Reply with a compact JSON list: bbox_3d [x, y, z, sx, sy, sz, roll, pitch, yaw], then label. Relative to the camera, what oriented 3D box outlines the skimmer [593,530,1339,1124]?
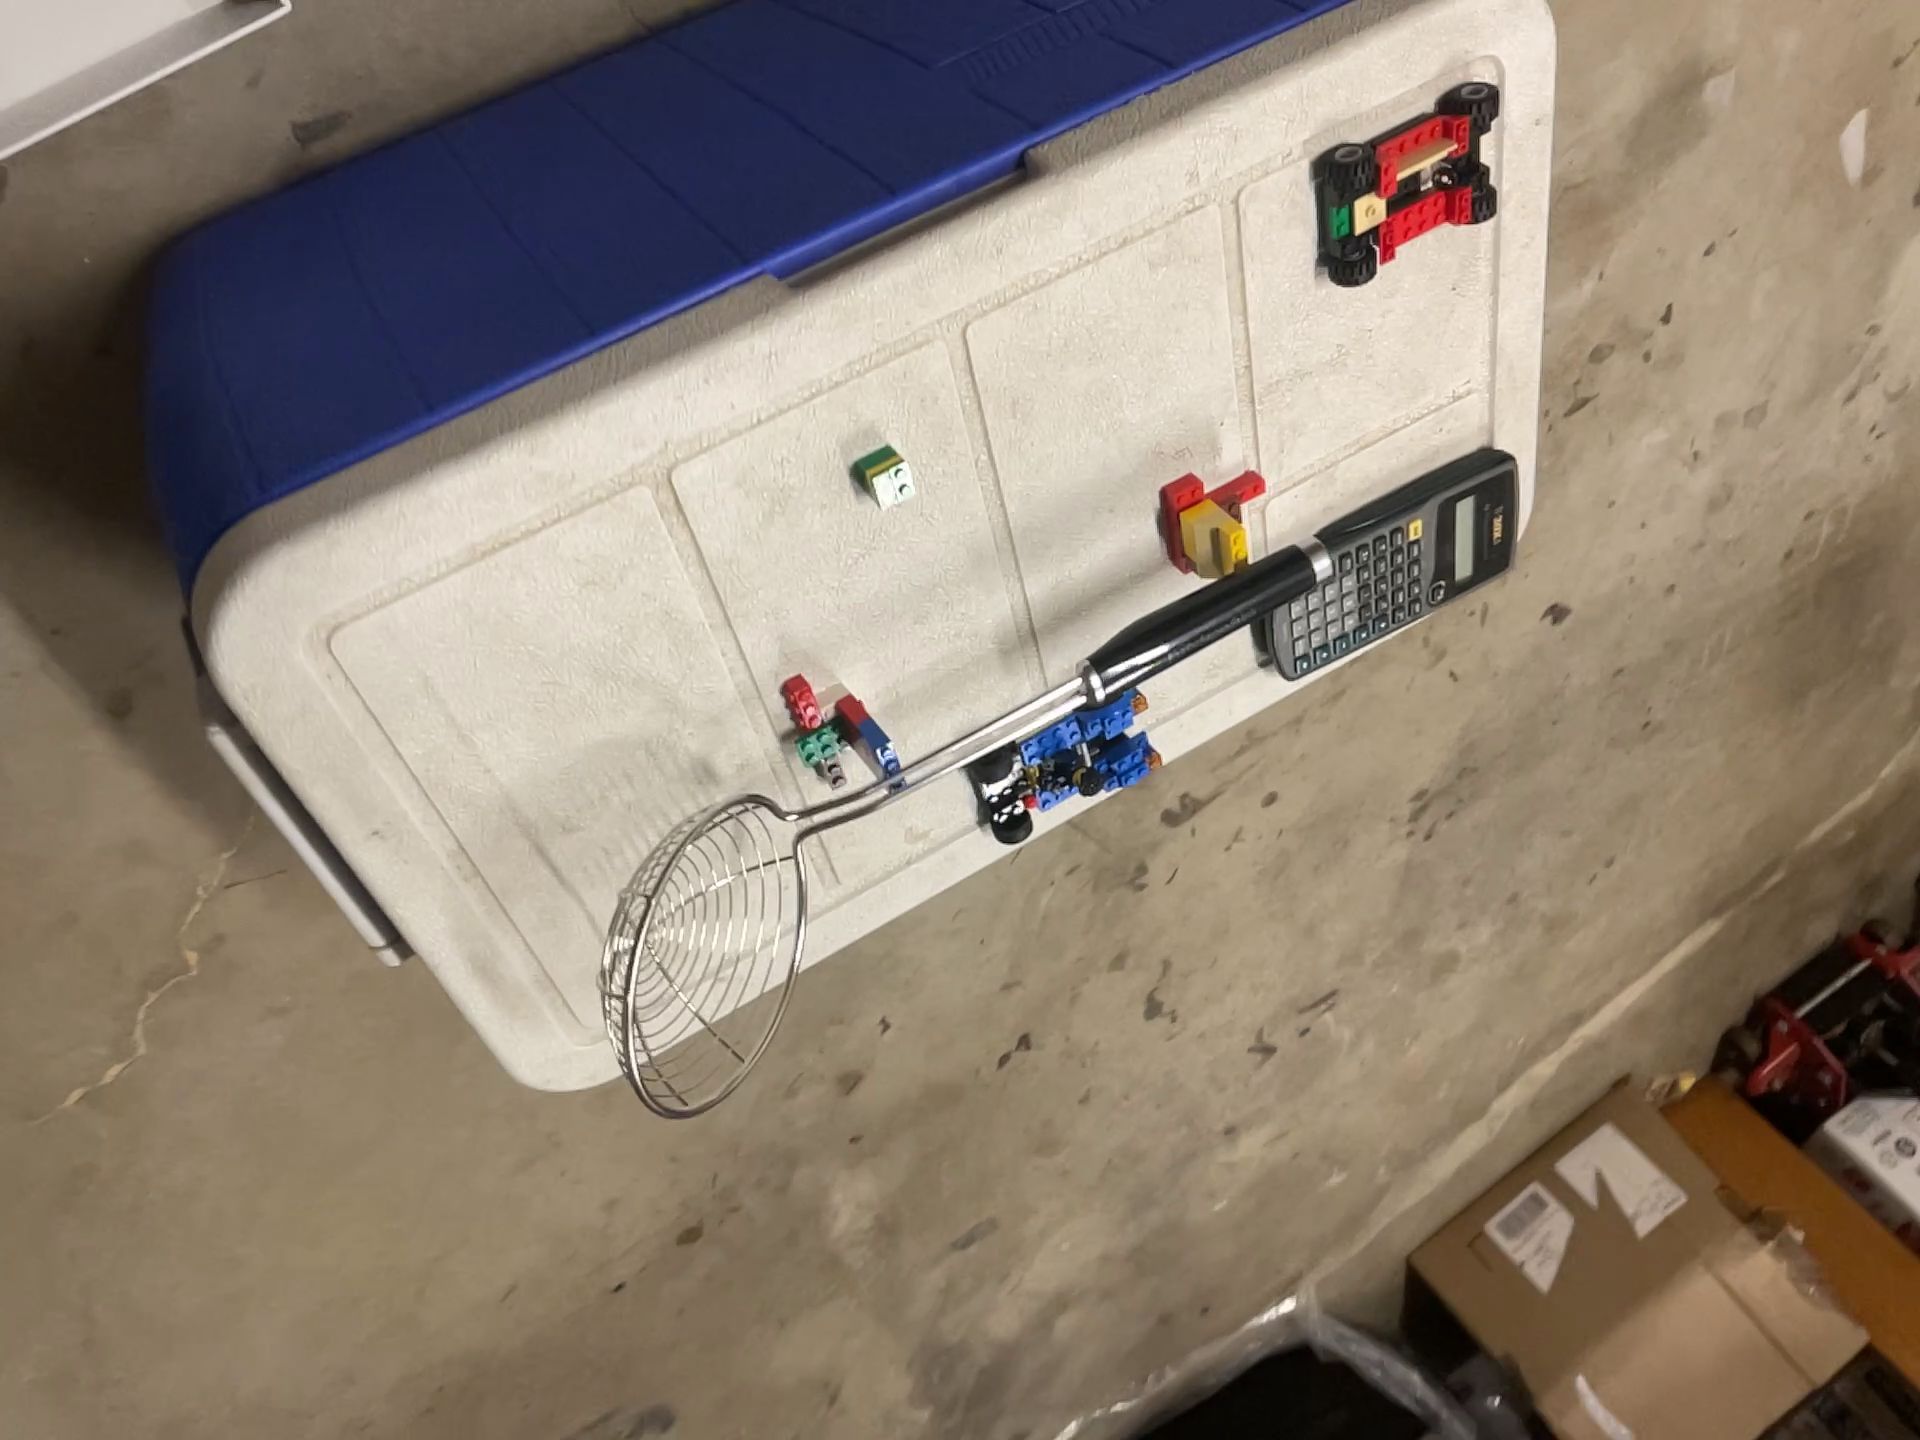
[{"bbox_3d":[0.018,0.029,0.644,0.363,0.090,0.127,-29,137,-11],"label":"skimmer"}]
